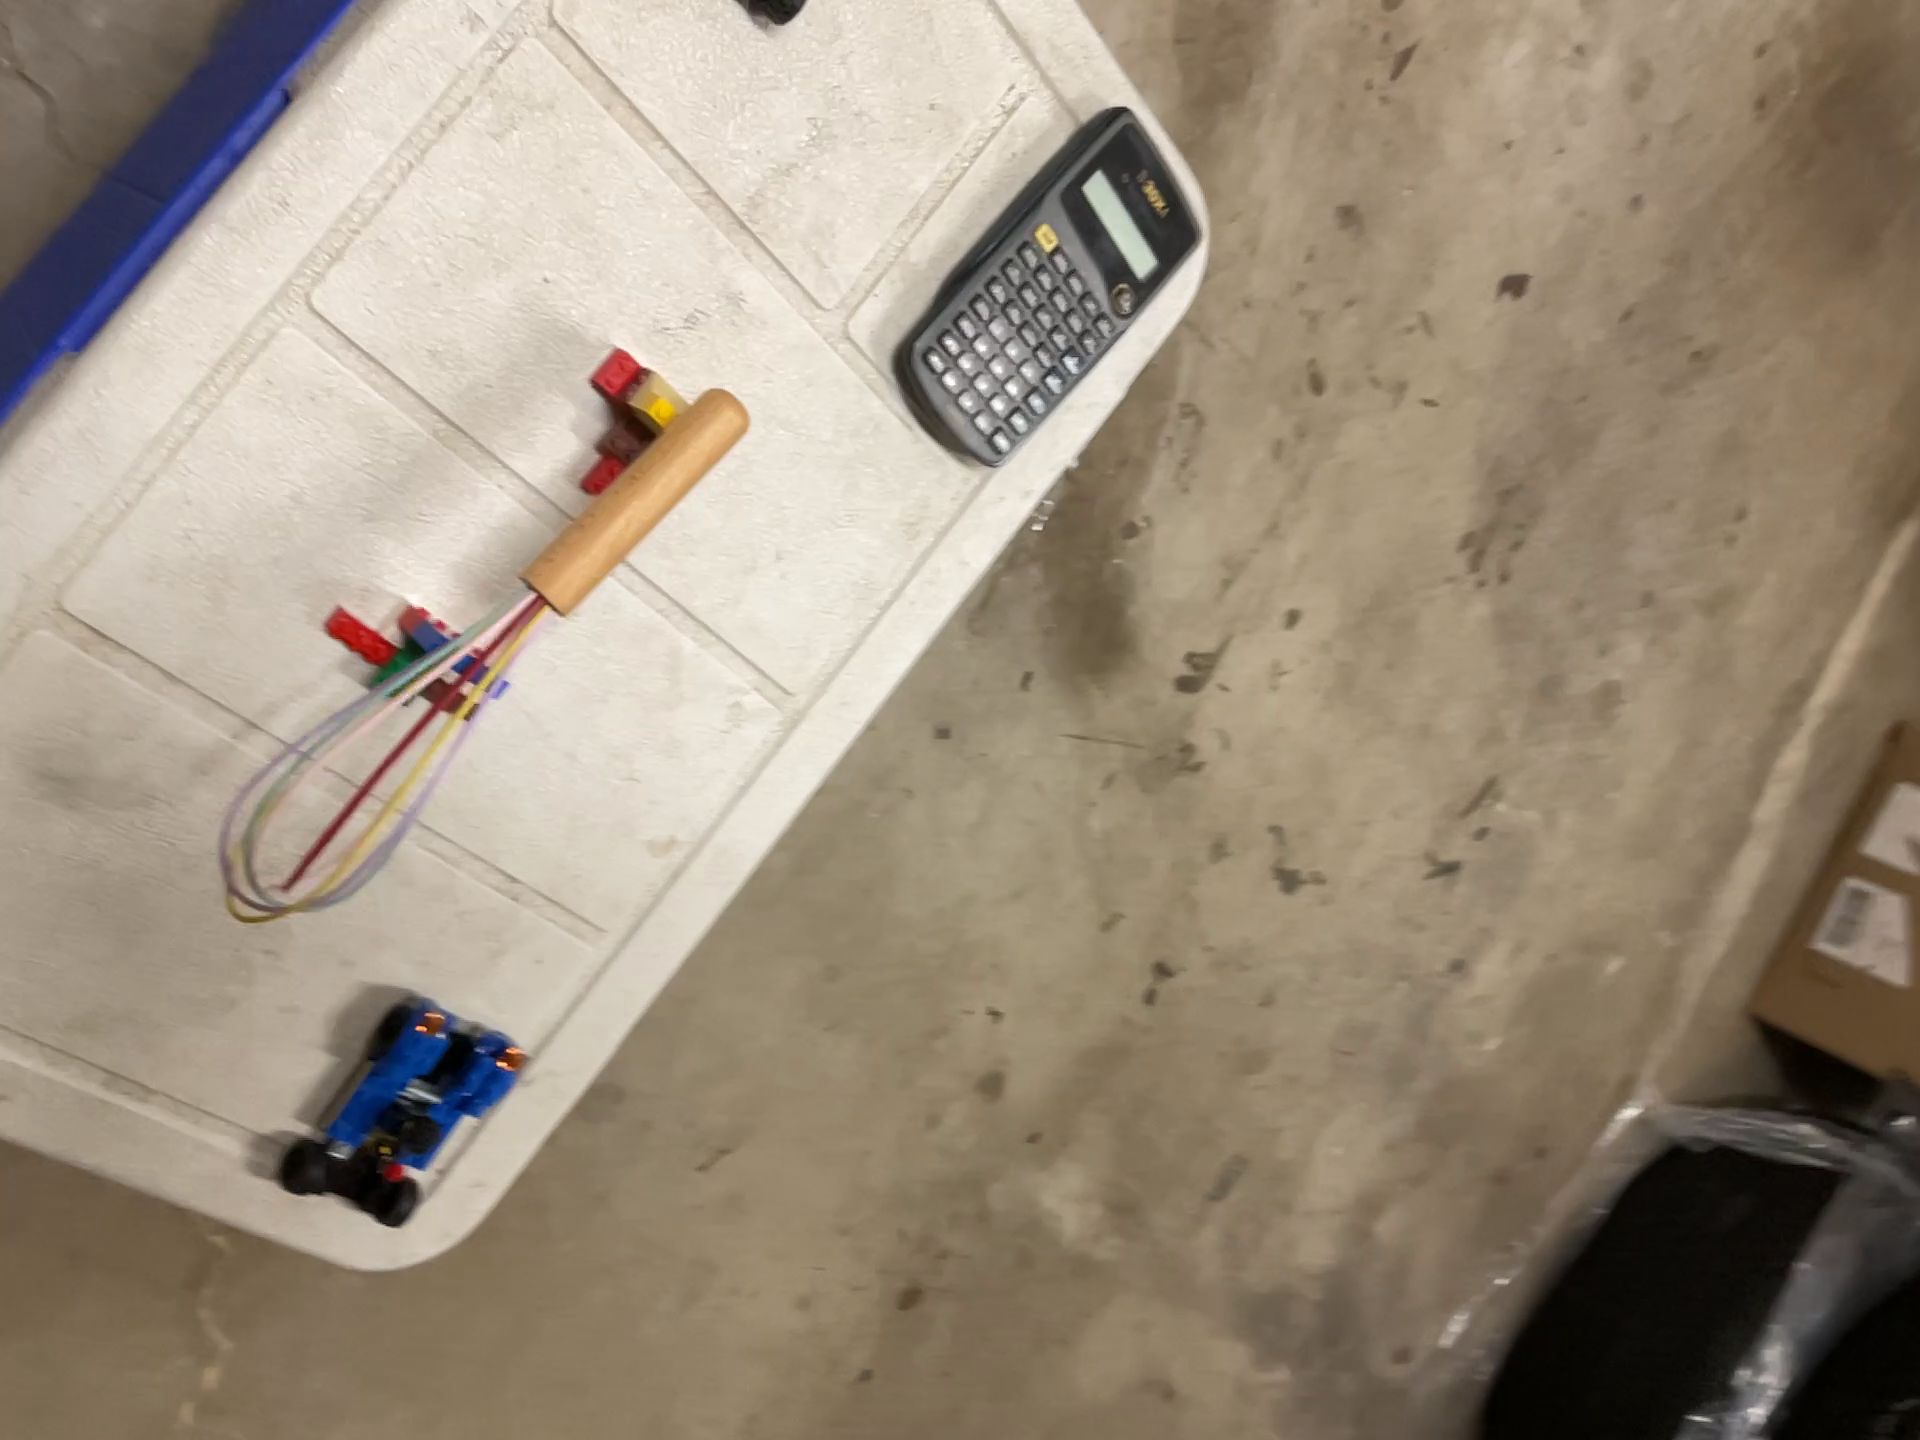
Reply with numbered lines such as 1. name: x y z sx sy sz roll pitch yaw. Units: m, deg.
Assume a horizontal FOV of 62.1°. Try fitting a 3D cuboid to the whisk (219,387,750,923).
1. whisk: -0.158 -0.024 0.554 0.245 0.047 0.051 -48 116 -12
